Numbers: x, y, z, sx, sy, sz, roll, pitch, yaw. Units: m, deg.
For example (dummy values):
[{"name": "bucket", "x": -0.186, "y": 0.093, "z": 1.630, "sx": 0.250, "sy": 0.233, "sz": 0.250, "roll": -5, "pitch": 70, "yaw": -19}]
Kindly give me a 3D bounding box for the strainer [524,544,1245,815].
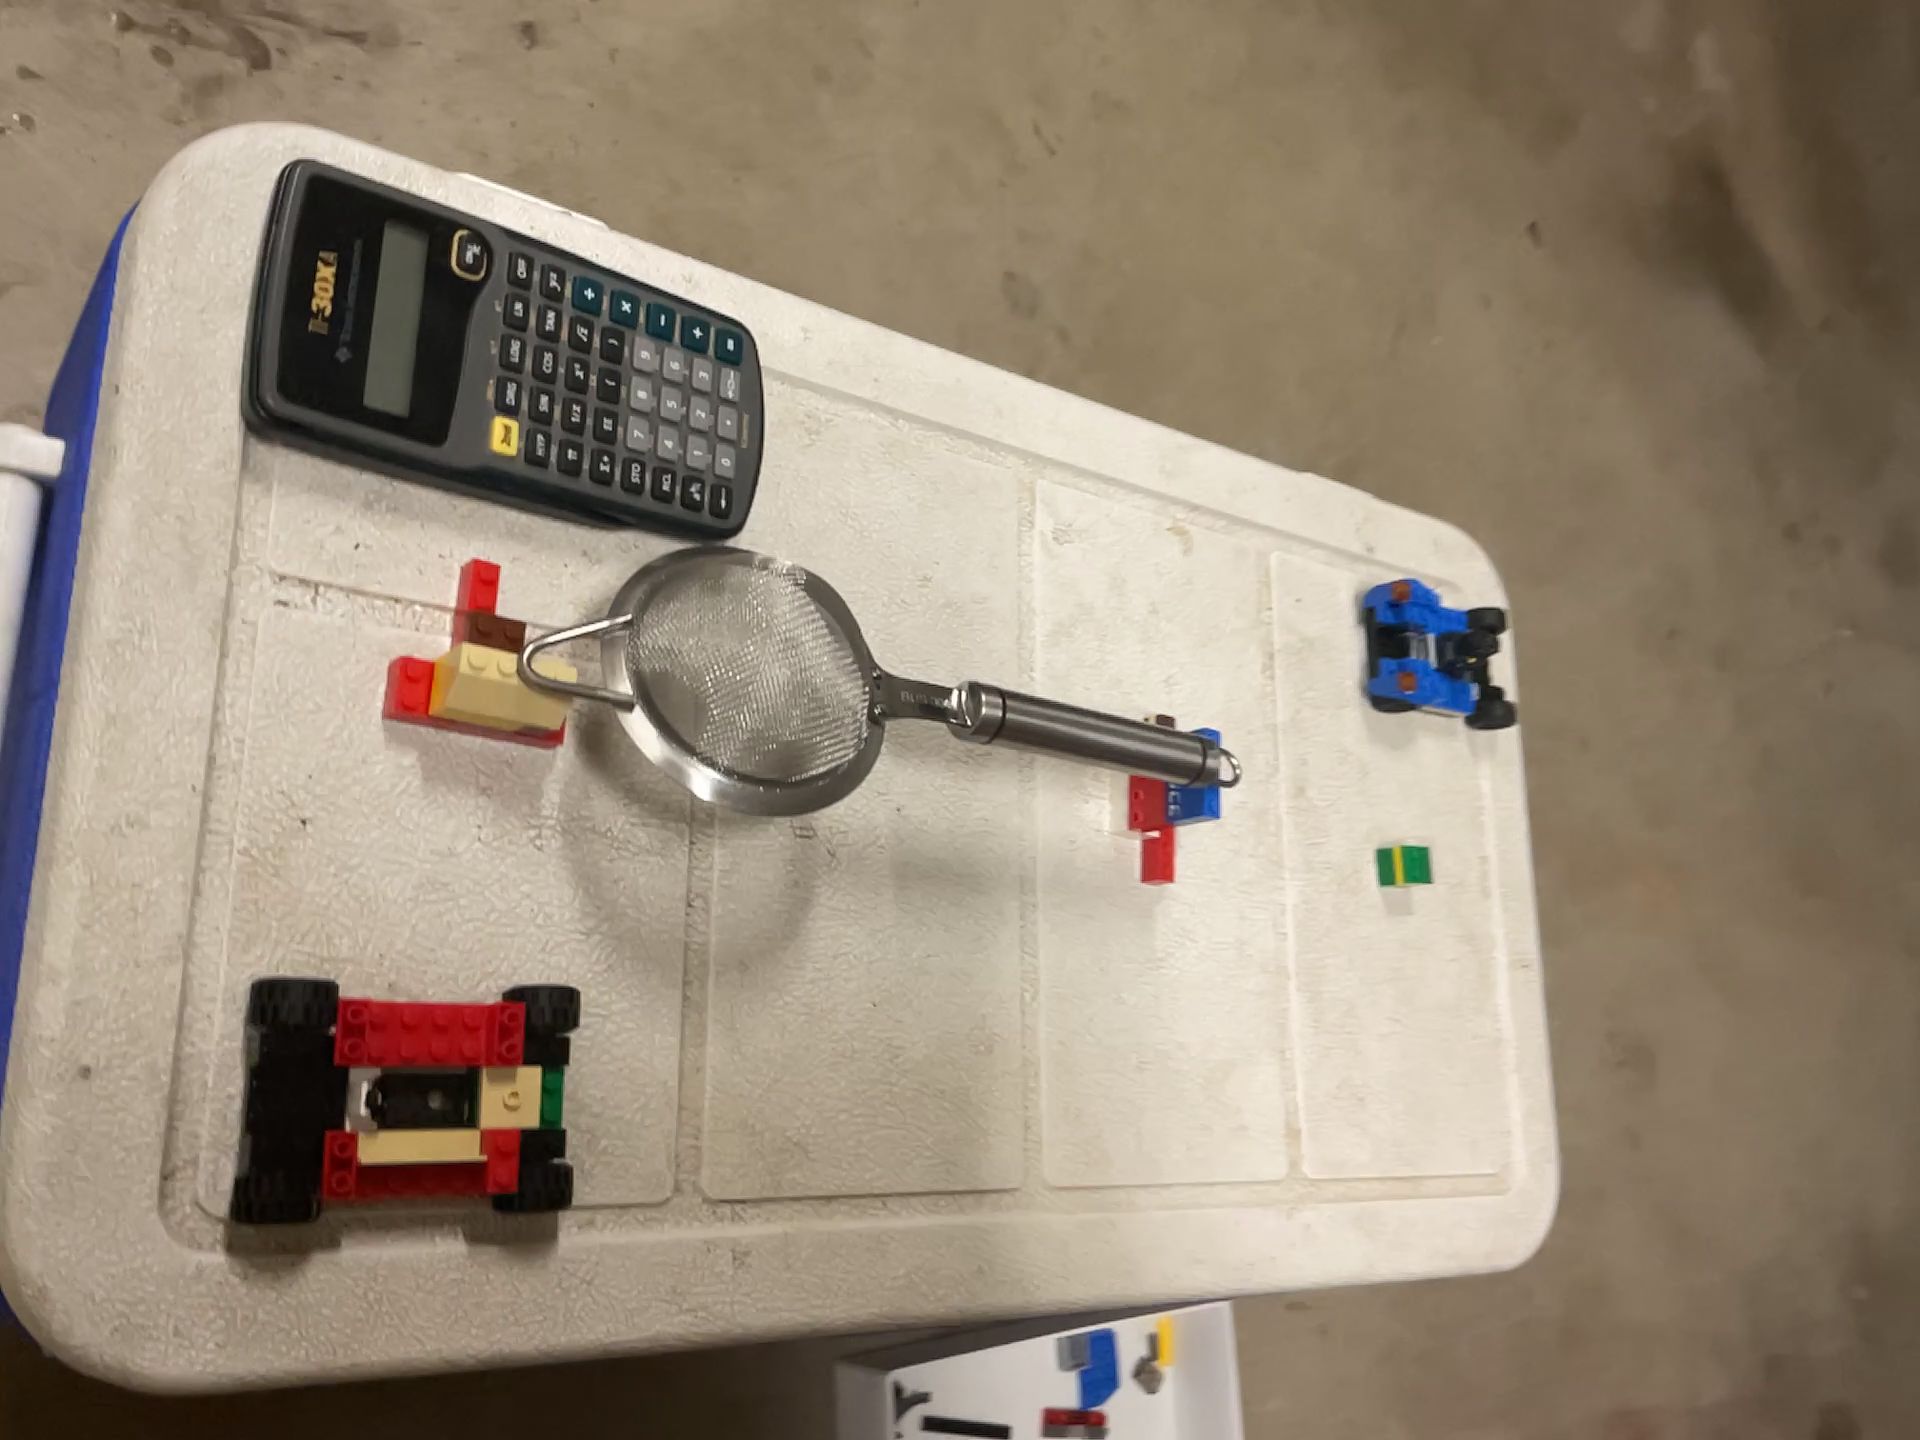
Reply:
[{"name": "strainer", "x": 0.000, "y": -0.006, "z": 0.483, "sx": 0.258, "sy": 0.050, "sz": 0.087, "roll": 12, "pitch": 55, "yaw": -38}]
